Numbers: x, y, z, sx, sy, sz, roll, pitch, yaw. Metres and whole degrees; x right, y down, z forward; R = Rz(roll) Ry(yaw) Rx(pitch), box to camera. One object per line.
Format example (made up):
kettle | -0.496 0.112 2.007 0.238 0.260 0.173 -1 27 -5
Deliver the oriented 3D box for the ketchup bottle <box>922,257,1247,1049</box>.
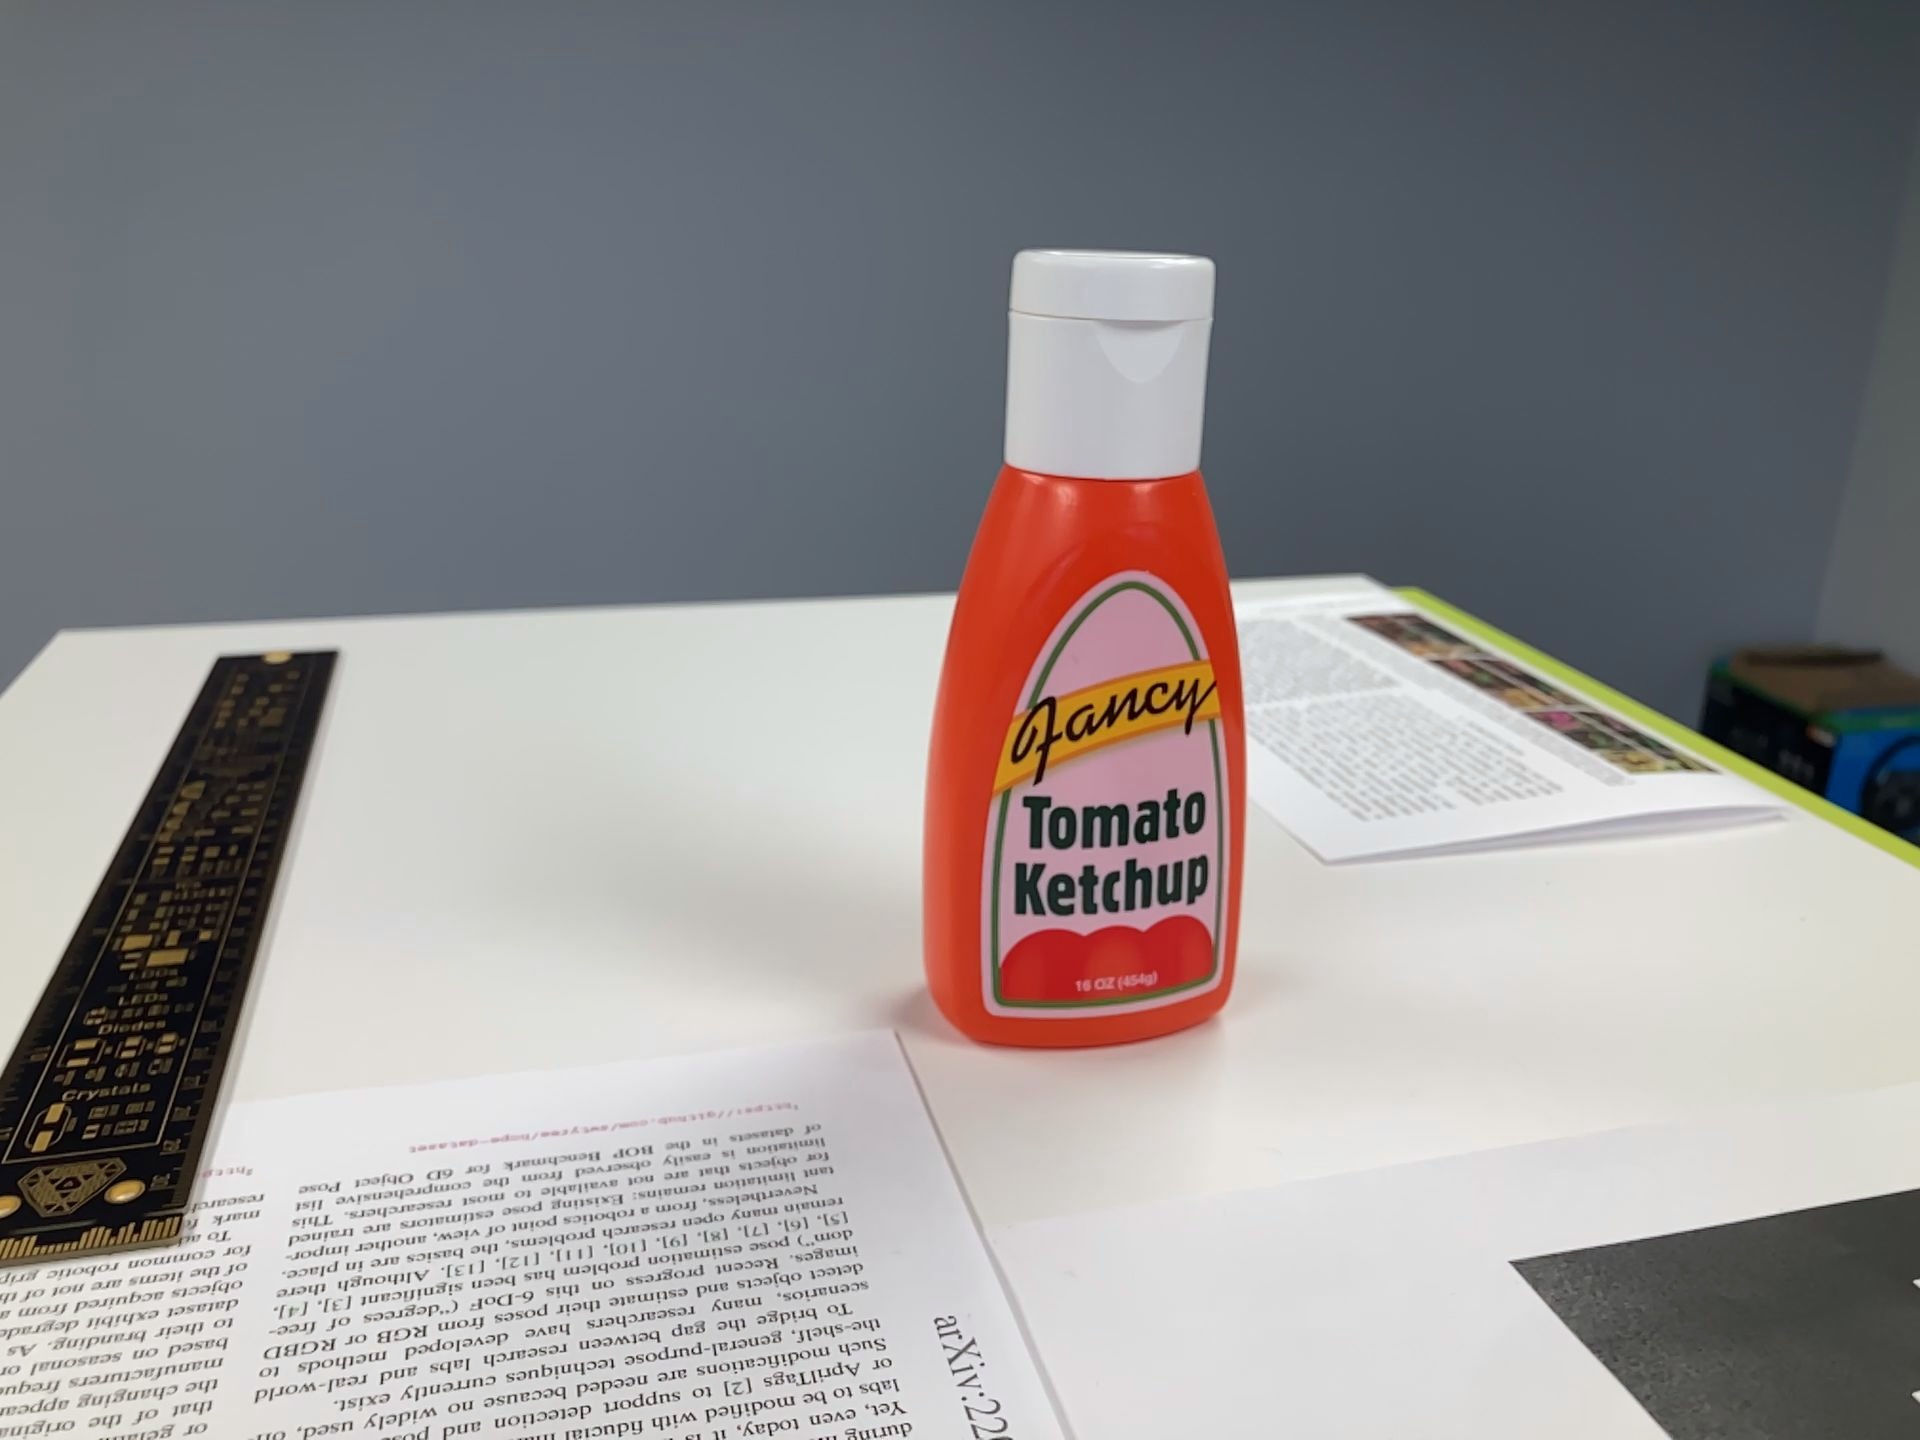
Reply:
ketchup bottle | 0.025 -0.012 0.310 0.065 0.149 0.043 -3 18 -14
